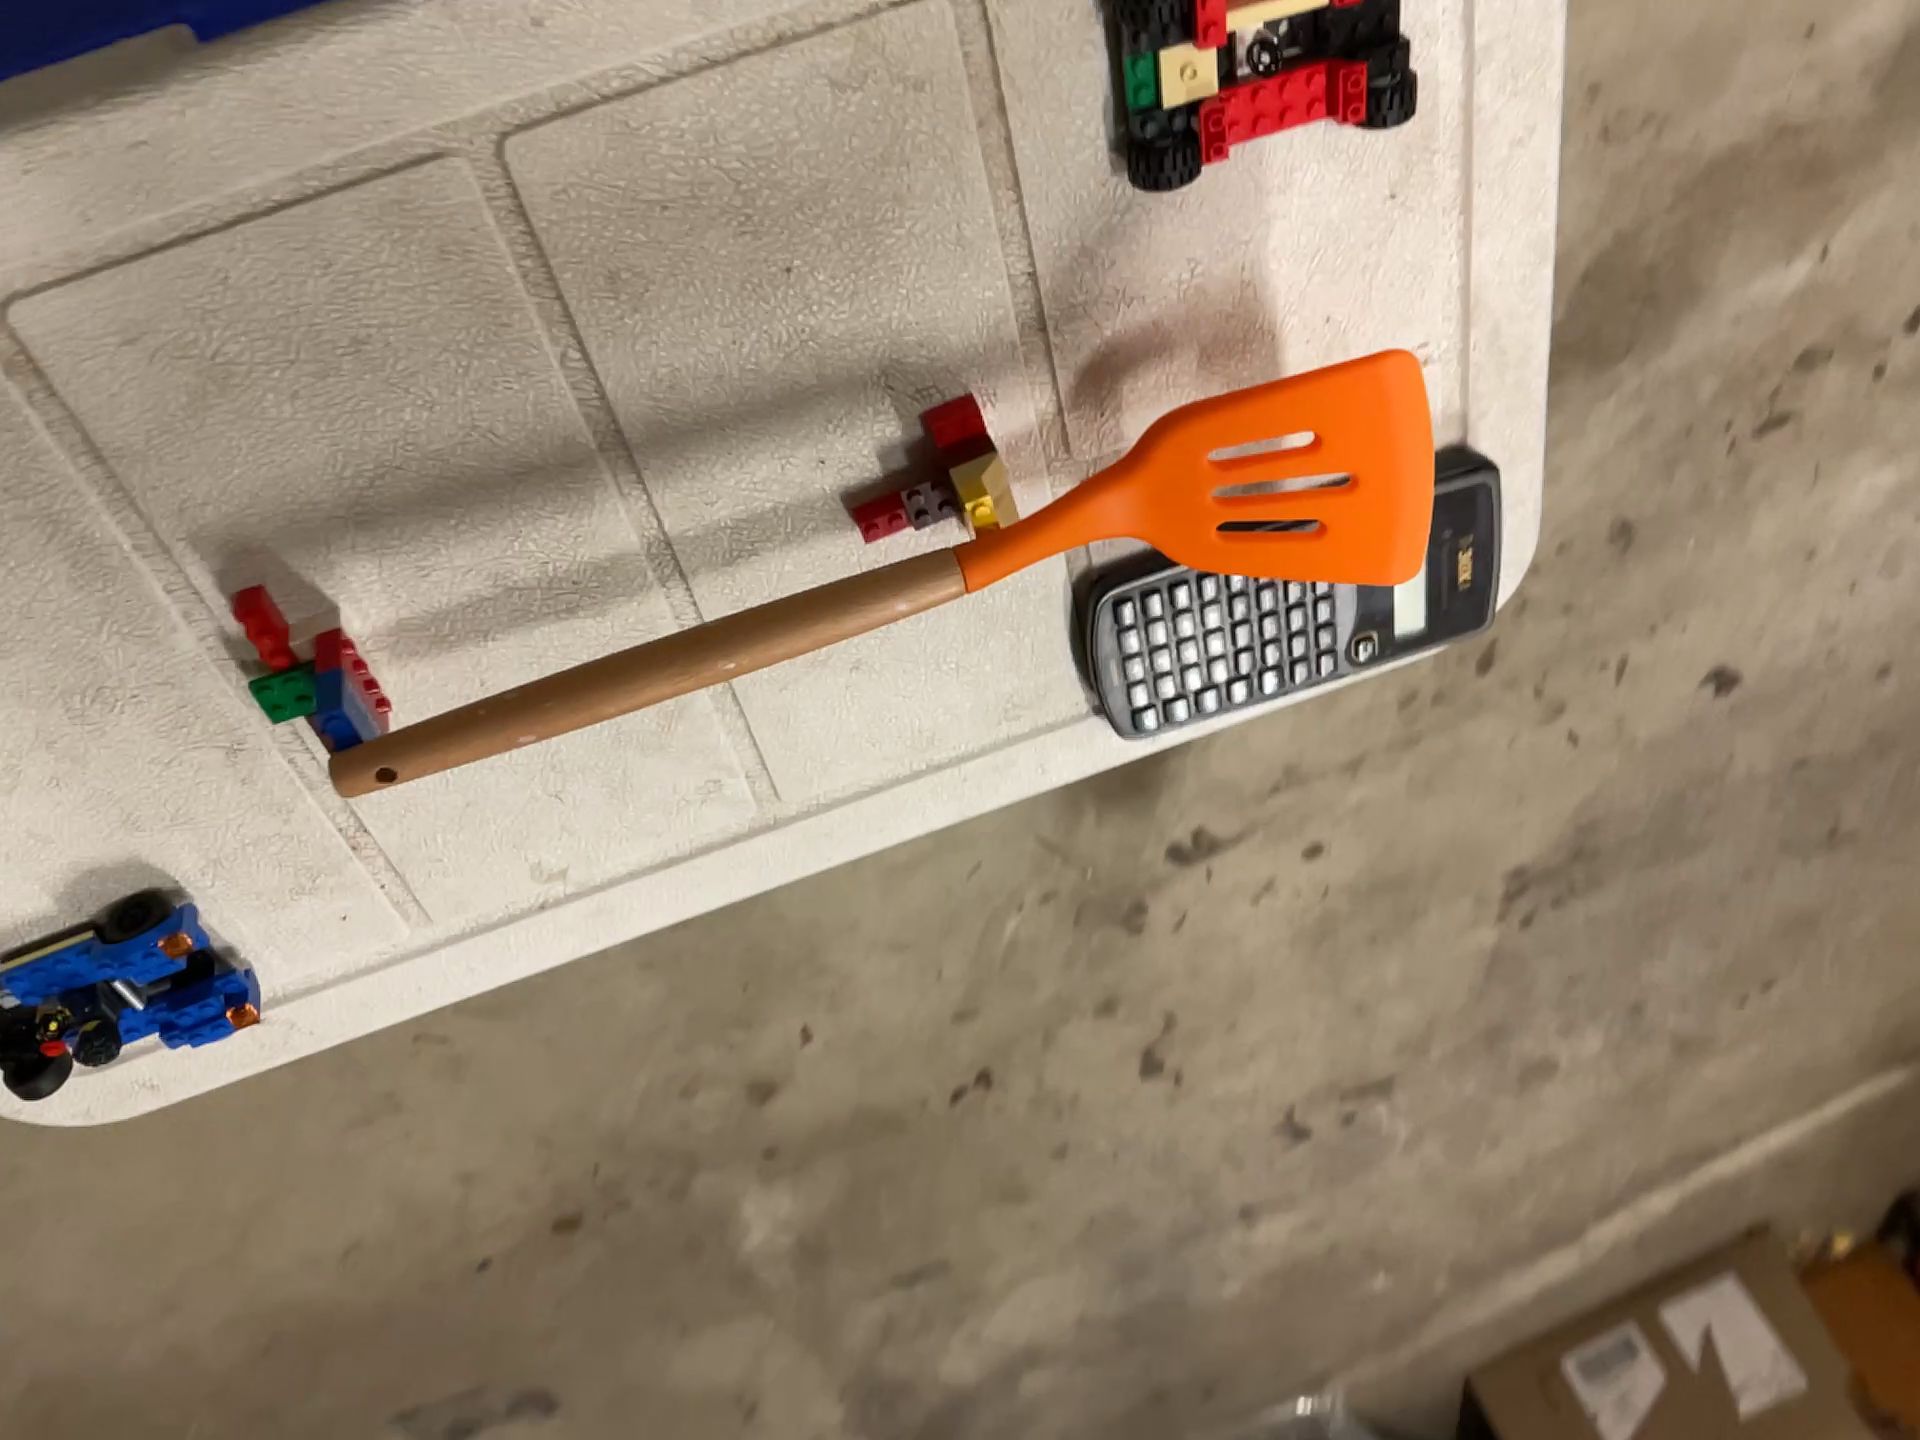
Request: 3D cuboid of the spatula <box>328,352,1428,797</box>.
[{"bbox_3d":[-0.022,-0.031,0.460,0.322,0.041,0.080,-19,130,-6],"label":"spatula"}]
